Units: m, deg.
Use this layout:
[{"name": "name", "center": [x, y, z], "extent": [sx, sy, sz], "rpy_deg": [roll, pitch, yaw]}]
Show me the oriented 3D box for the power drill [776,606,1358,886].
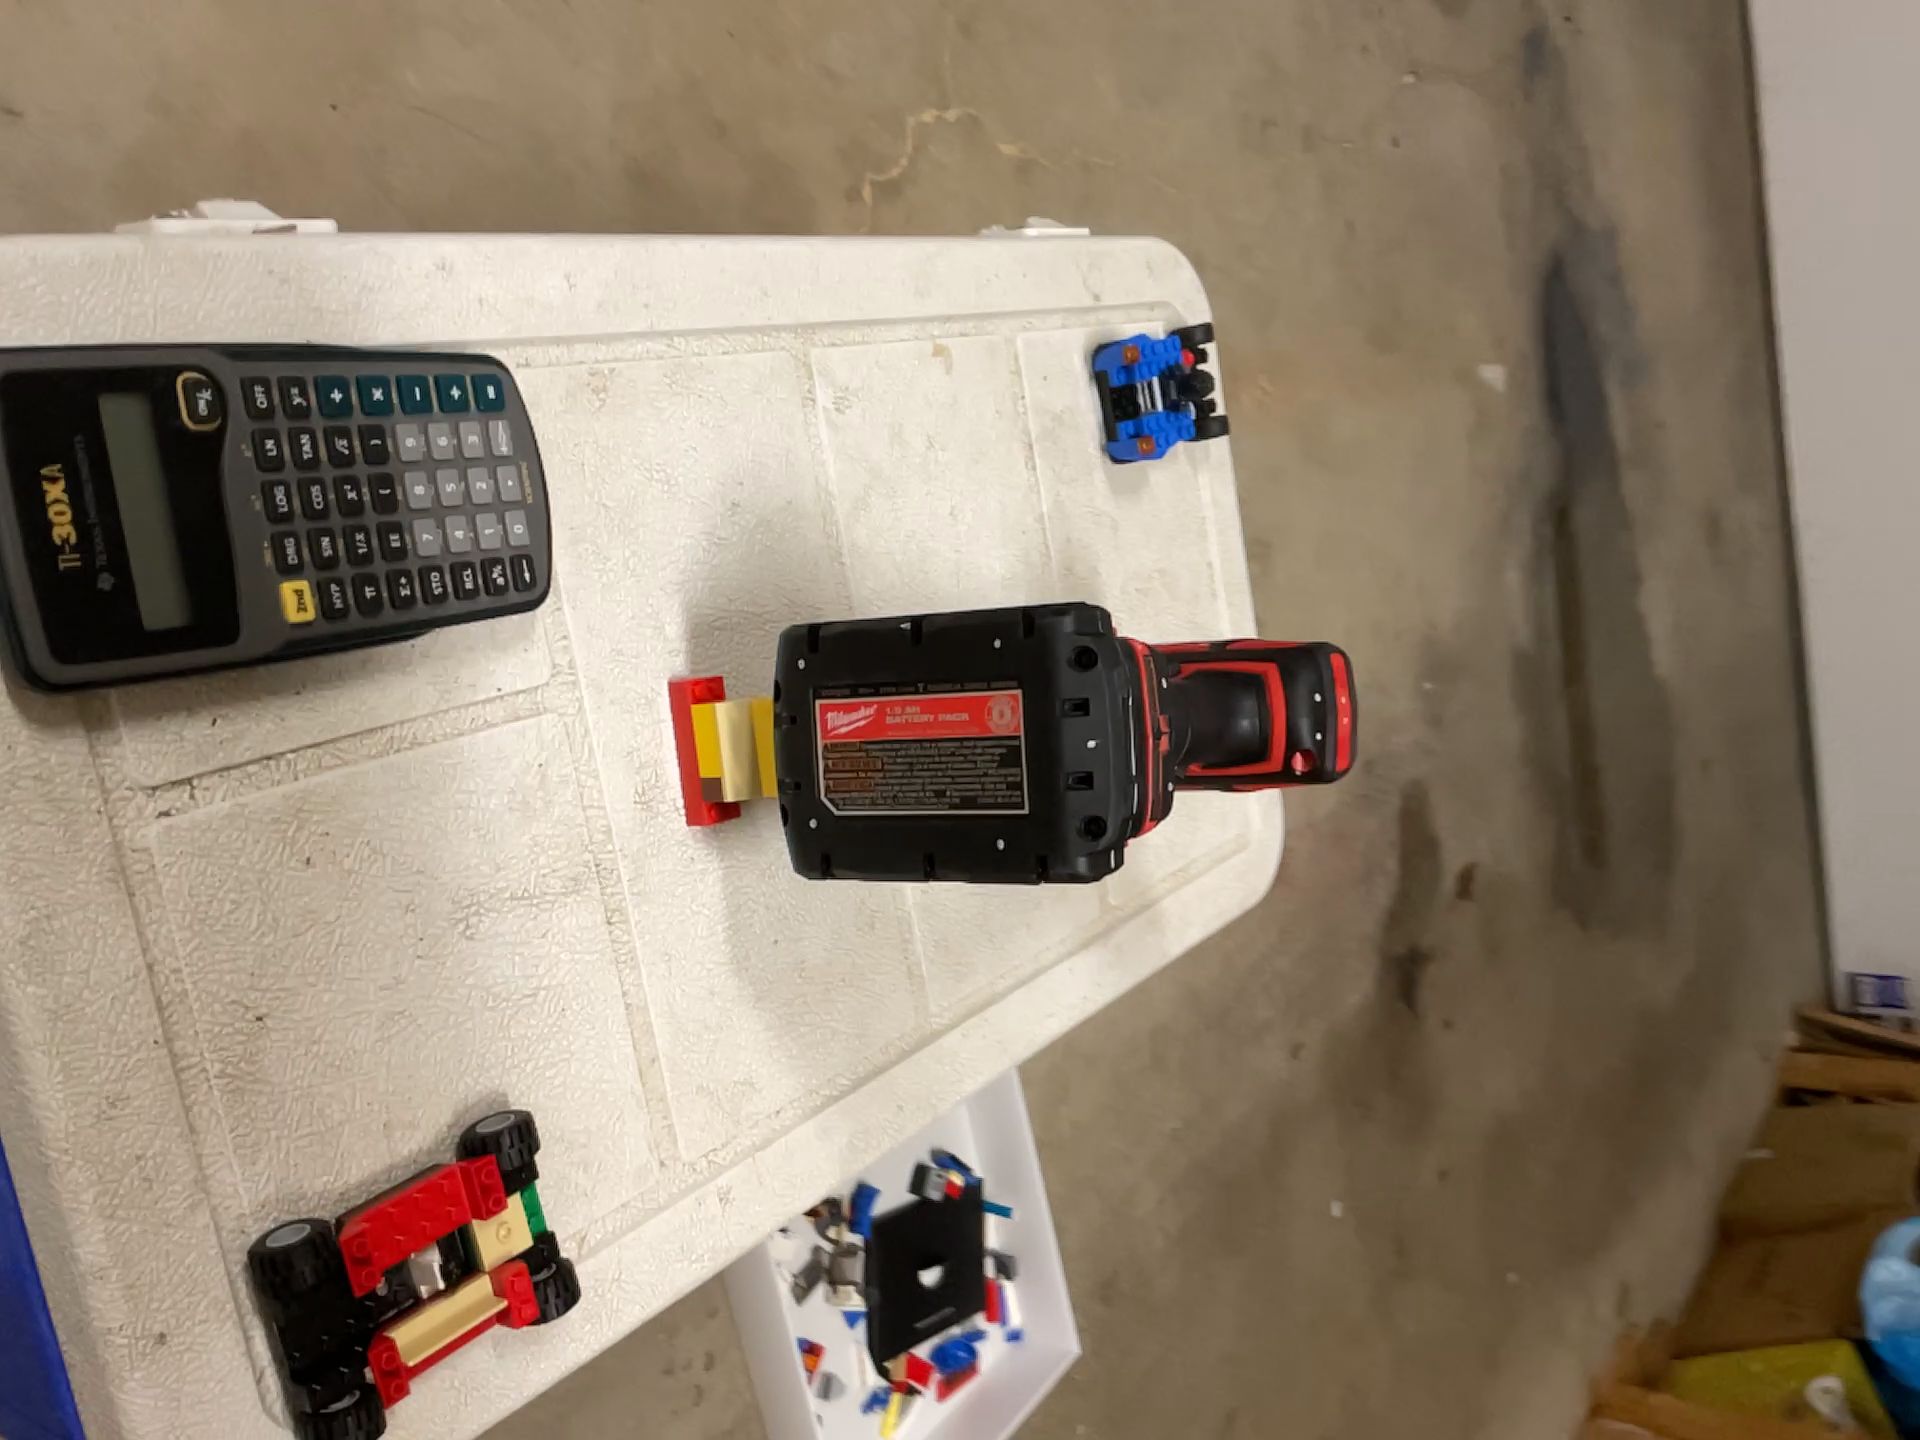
[{"name": "power drill", "center": [0.040, 0.003, 0.558], "extent": [0.220, 0.143, 0.078], "rpy_deg": [-6, 93, -58]}]
